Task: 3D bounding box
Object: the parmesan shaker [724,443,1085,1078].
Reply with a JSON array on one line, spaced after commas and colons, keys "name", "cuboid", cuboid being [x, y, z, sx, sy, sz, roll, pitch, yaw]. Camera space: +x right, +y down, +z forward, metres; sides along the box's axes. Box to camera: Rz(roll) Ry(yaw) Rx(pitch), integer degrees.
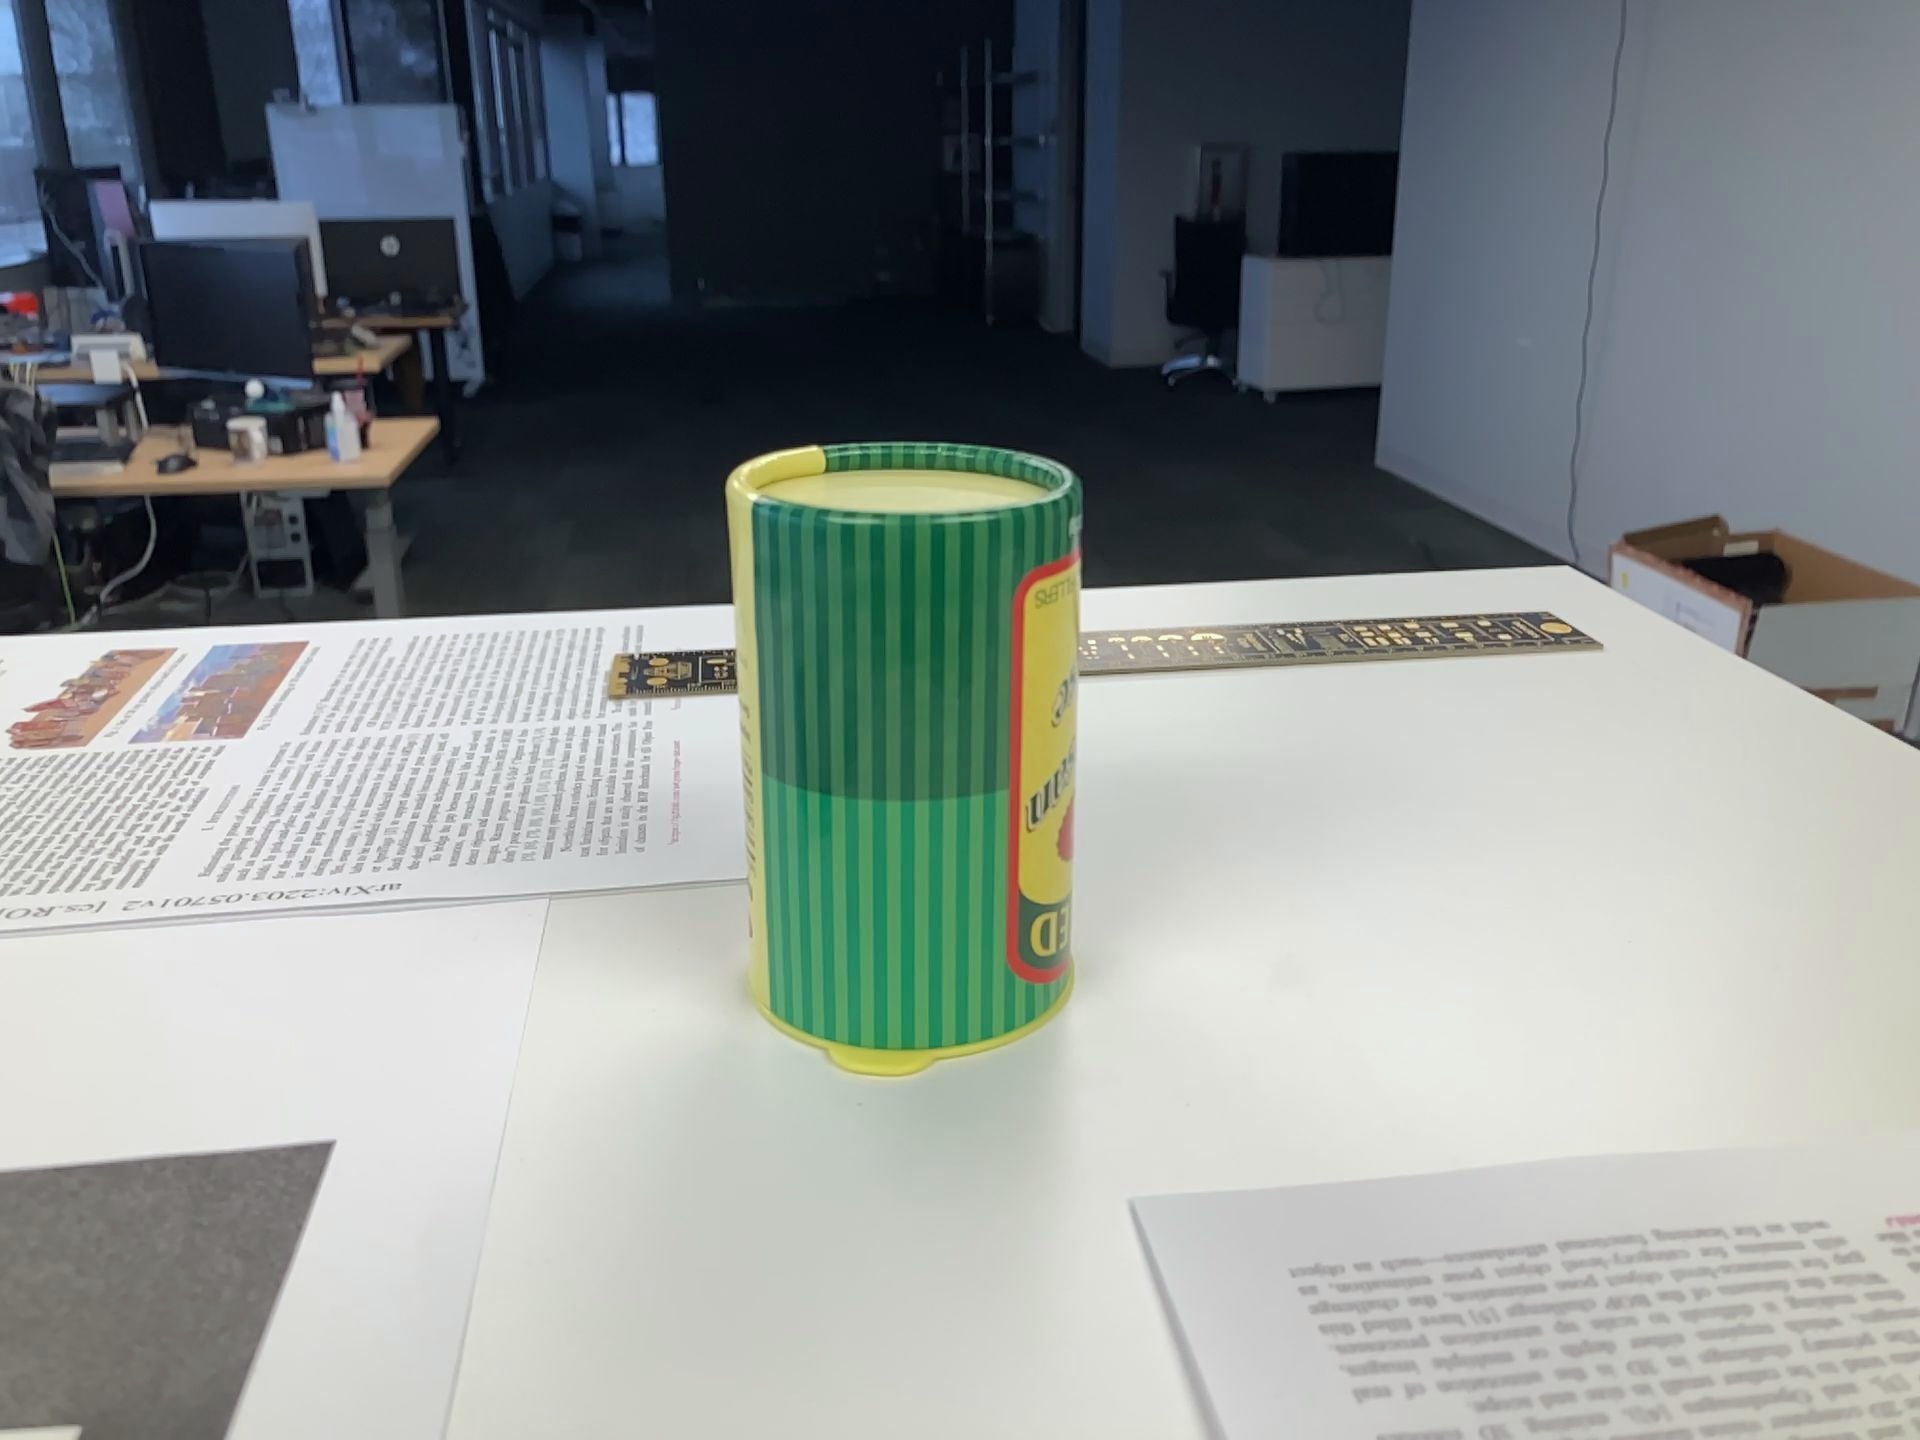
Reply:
[{"name": "parmesan shaker", "cuboid": [-0.010, 0.004, 0.300, 0.071, 0.103, 0.071, 0, 20, 0]}]
